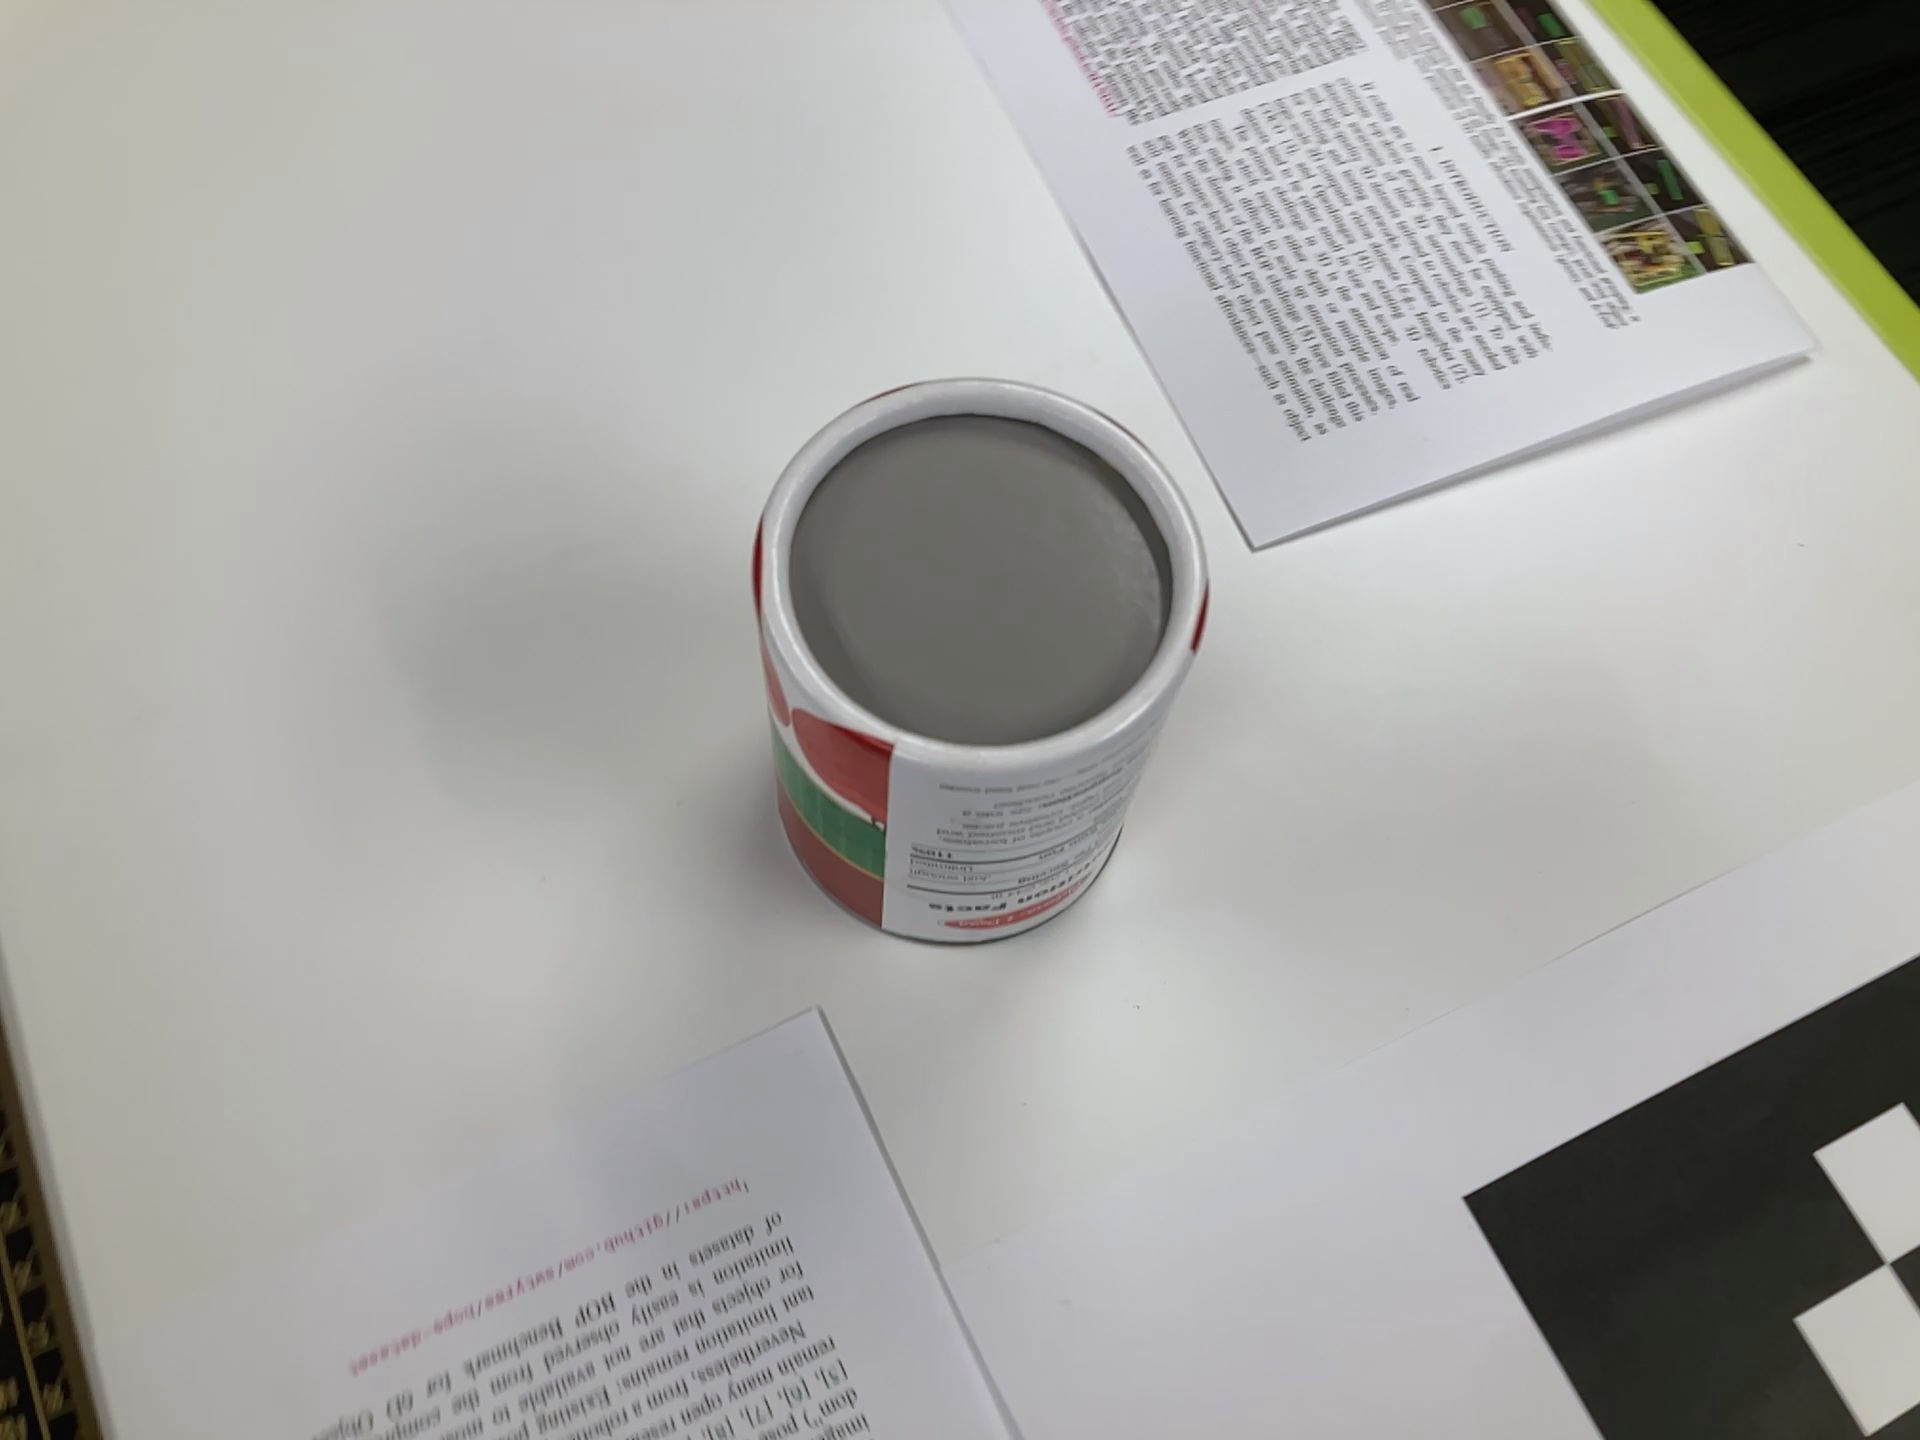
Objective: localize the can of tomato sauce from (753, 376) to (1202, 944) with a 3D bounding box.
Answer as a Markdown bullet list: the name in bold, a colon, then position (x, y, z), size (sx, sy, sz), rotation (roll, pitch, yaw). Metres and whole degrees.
- **can of tomato sauce**: position (0.001, -0.008, 0.266), size (0.071, 0.083, 0.071), rotation (0, 66, -1)
